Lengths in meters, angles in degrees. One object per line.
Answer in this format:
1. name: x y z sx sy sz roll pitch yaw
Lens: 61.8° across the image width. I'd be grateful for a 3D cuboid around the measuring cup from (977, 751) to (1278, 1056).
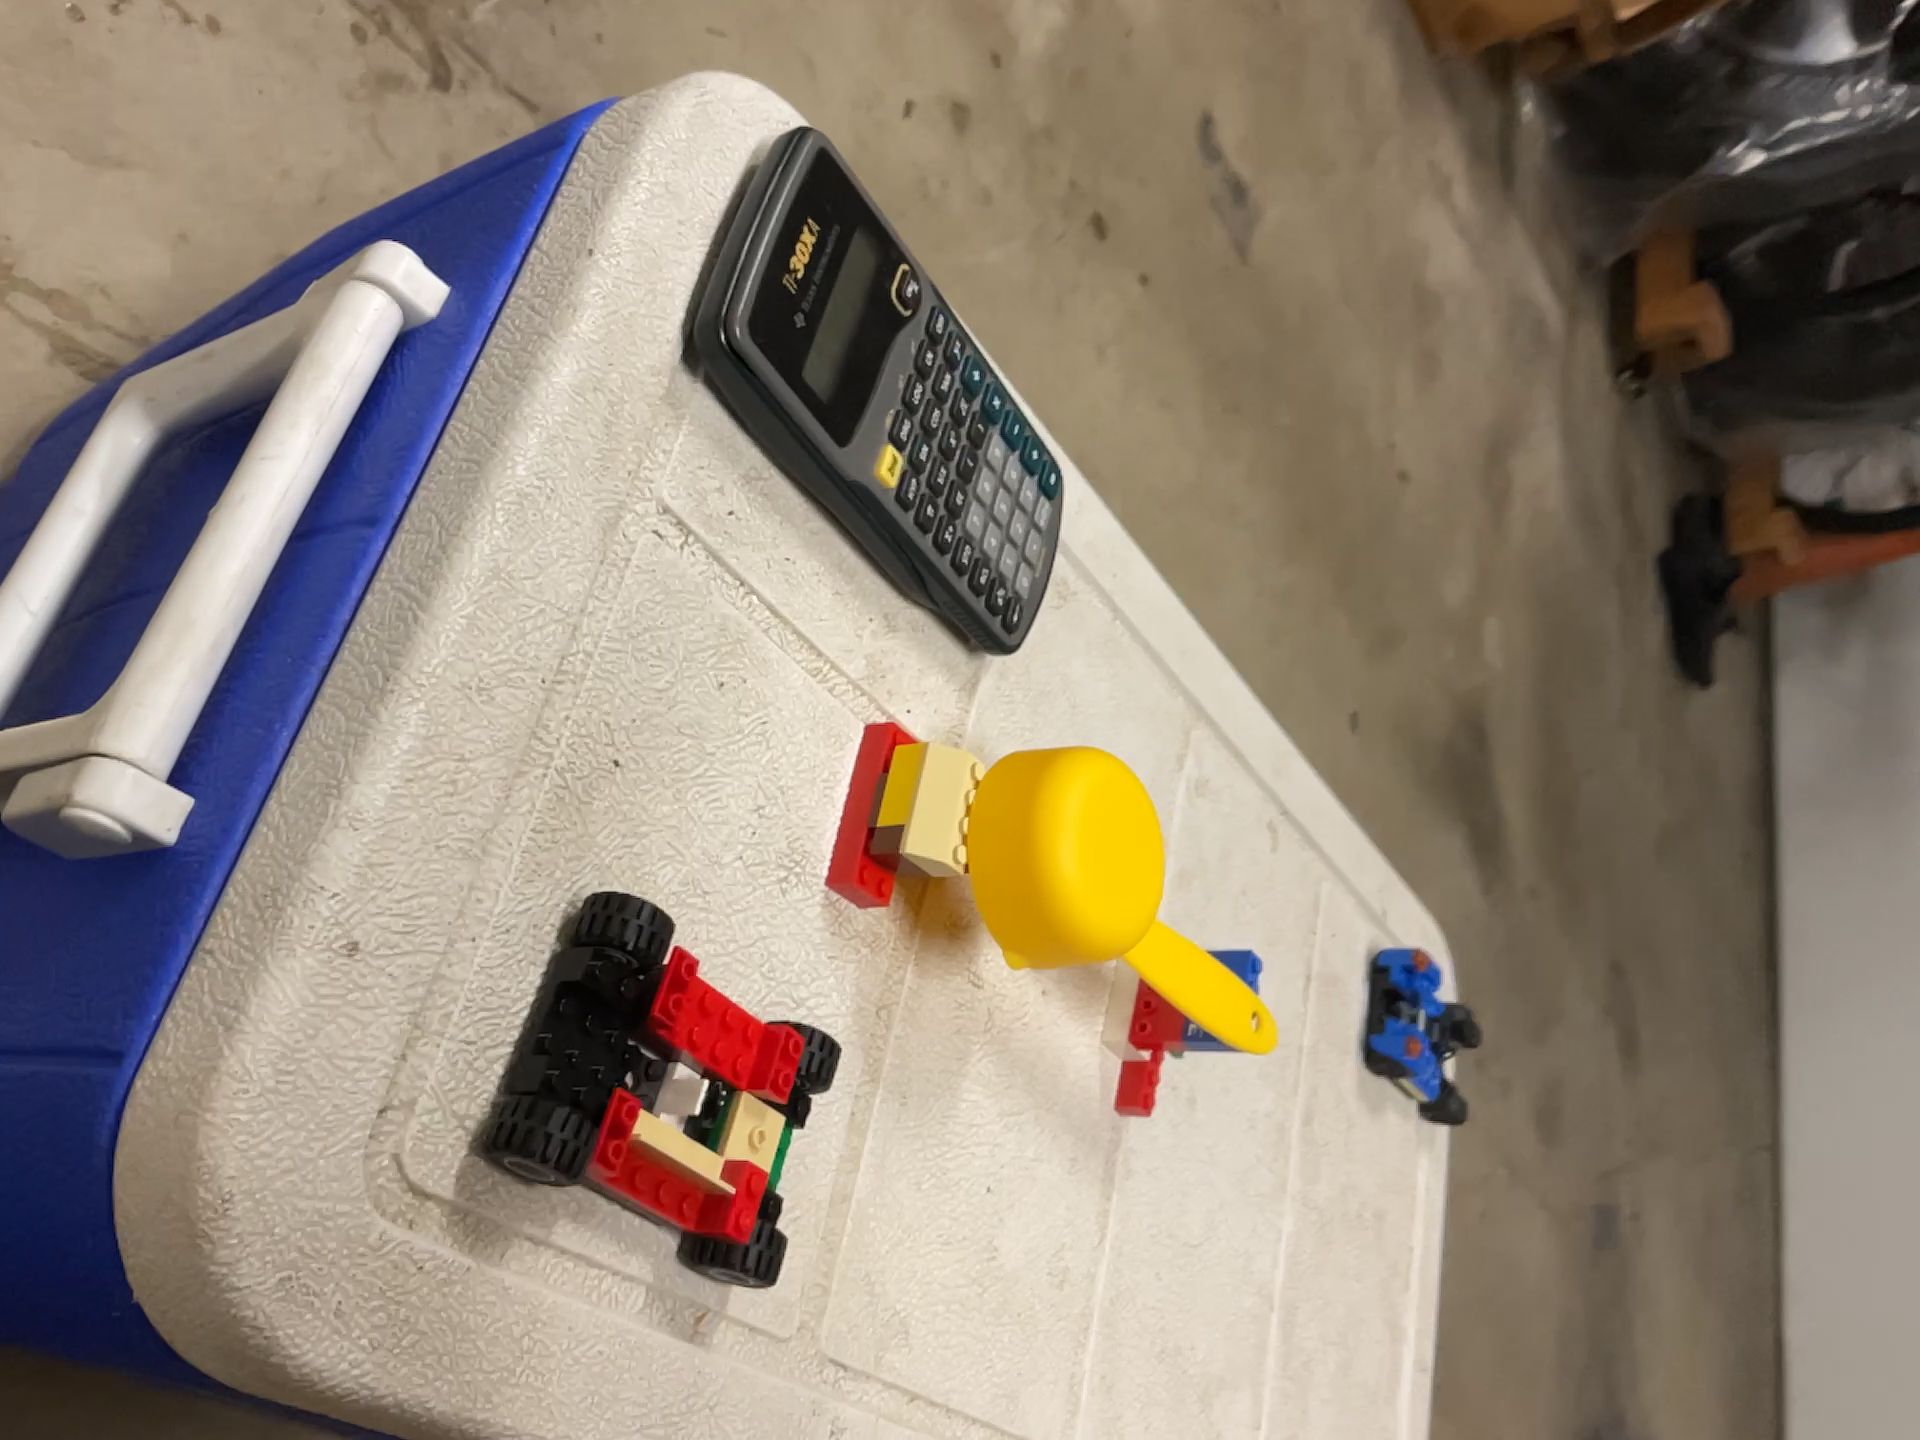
1. measuring cup: 0.062 0.061 0.460 0.156 0.029 0.062 40 52 -38
